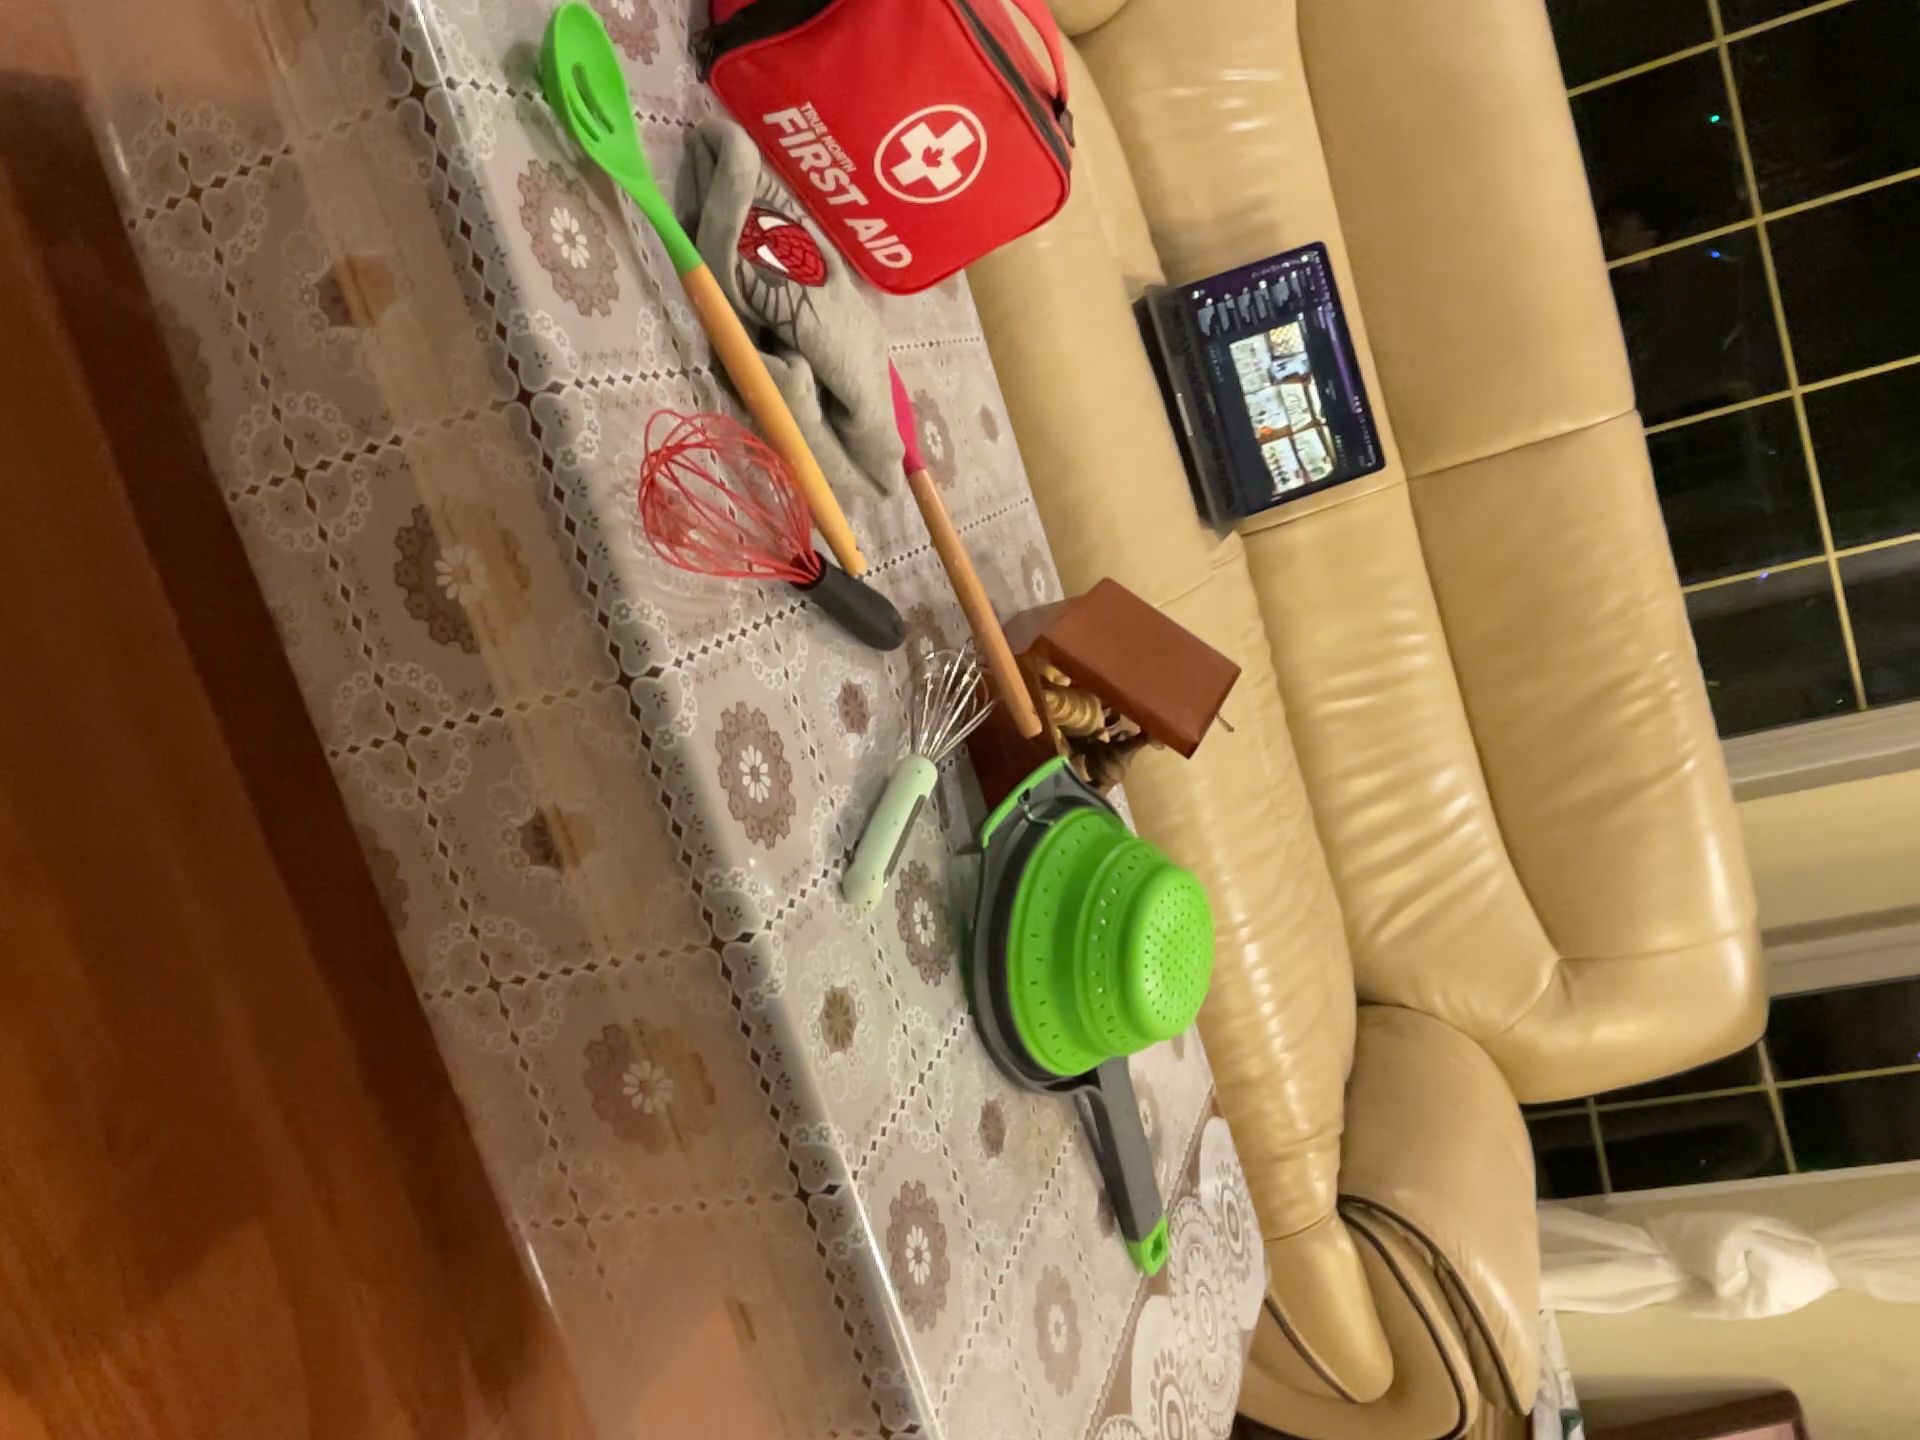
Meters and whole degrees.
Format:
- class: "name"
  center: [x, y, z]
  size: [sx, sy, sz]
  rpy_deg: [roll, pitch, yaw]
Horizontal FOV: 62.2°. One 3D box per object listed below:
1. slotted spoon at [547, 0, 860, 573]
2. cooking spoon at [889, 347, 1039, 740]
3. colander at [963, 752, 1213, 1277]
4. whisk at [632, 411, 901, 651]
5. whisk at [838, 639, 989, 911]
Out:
- class: "slotted spoon"
  center: [-0.127, -0.209, 0.816]
  size: [0.313, 0.031, 0.070]
  rpy_deg: [62, 25, -26]
- class: "cooking spoon"
  center: [-0.018, -0.135, 1.009]
  size: [0.319, 0.017, 0.068]
  rpy_deg: [67, 22, 5]
- class: "colander"
  center: [0.117, 0.216, 1.048]
  size: [0.204, 0.094, 0.396]
  rpy_deg: [-40, 123, -45]
- class: "whisk"
  center: [-0.088, -0.086, 0.836]
  size: [0.295, 0.073, 0.073]
  rpy_deg: [37, 37, -67]
- class: "whisk"
  center: [-0.029, 0.027, 0.938]
  size: [0.058, 0.059, 0.247]
  rpy_deg: [28, 37, -5]
